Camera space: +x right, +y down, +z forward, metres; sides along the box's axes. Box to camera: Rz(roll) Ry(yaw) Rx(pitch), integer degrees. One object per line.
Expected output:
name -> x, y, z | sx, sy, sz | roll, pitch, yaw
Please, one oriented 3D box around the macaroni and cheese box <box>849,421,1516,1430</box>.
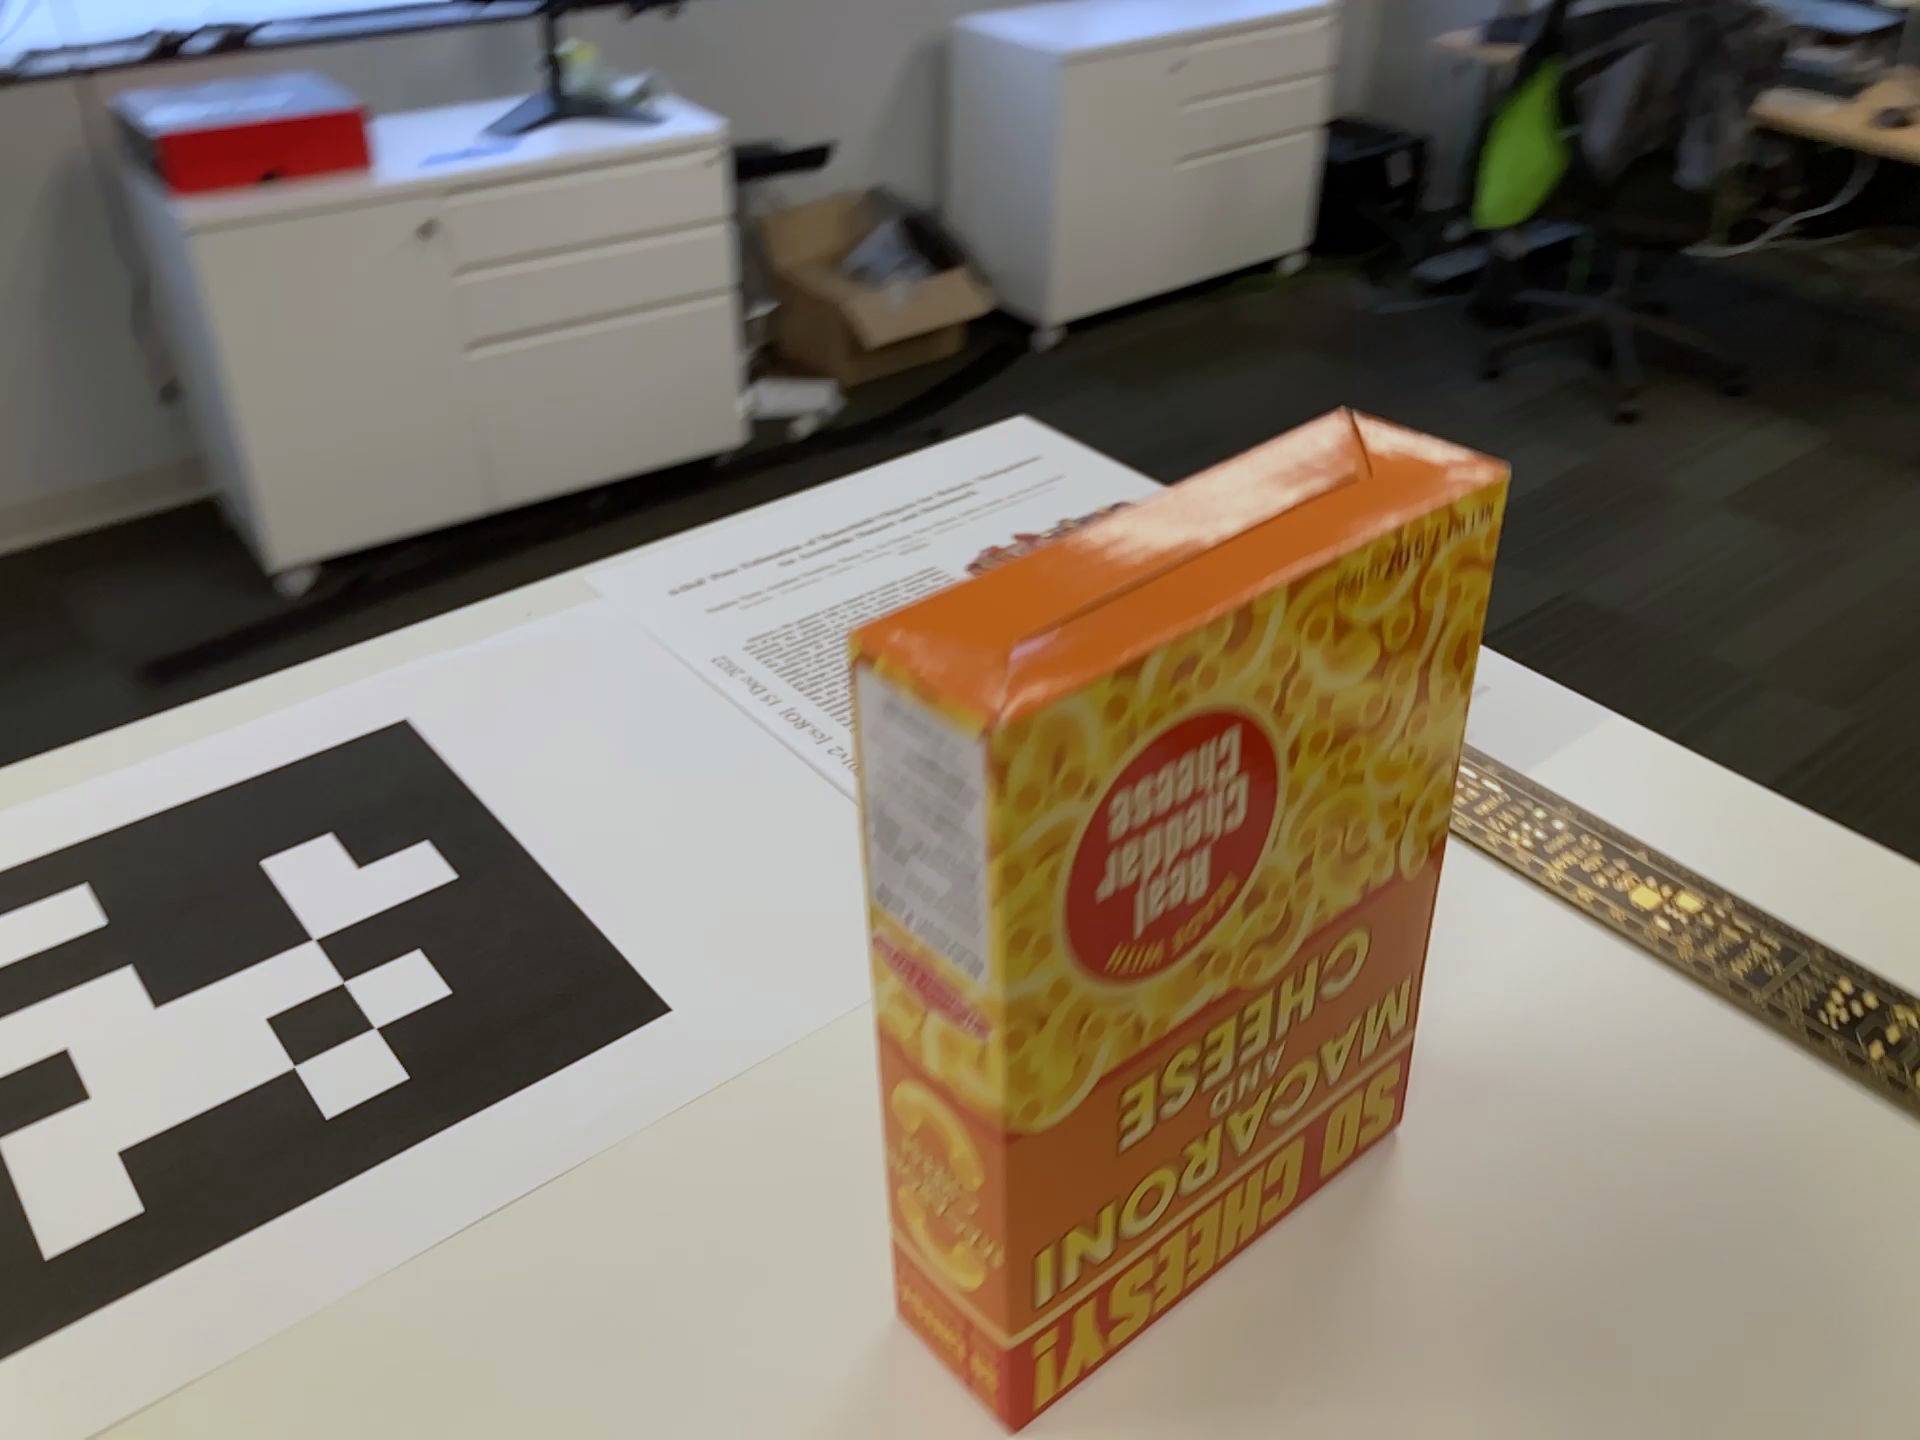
macaroni and cheese box -> 0.044, 0.040, 0.309 | 0.124, 0.166, 0.040 | -26, 40, -31
